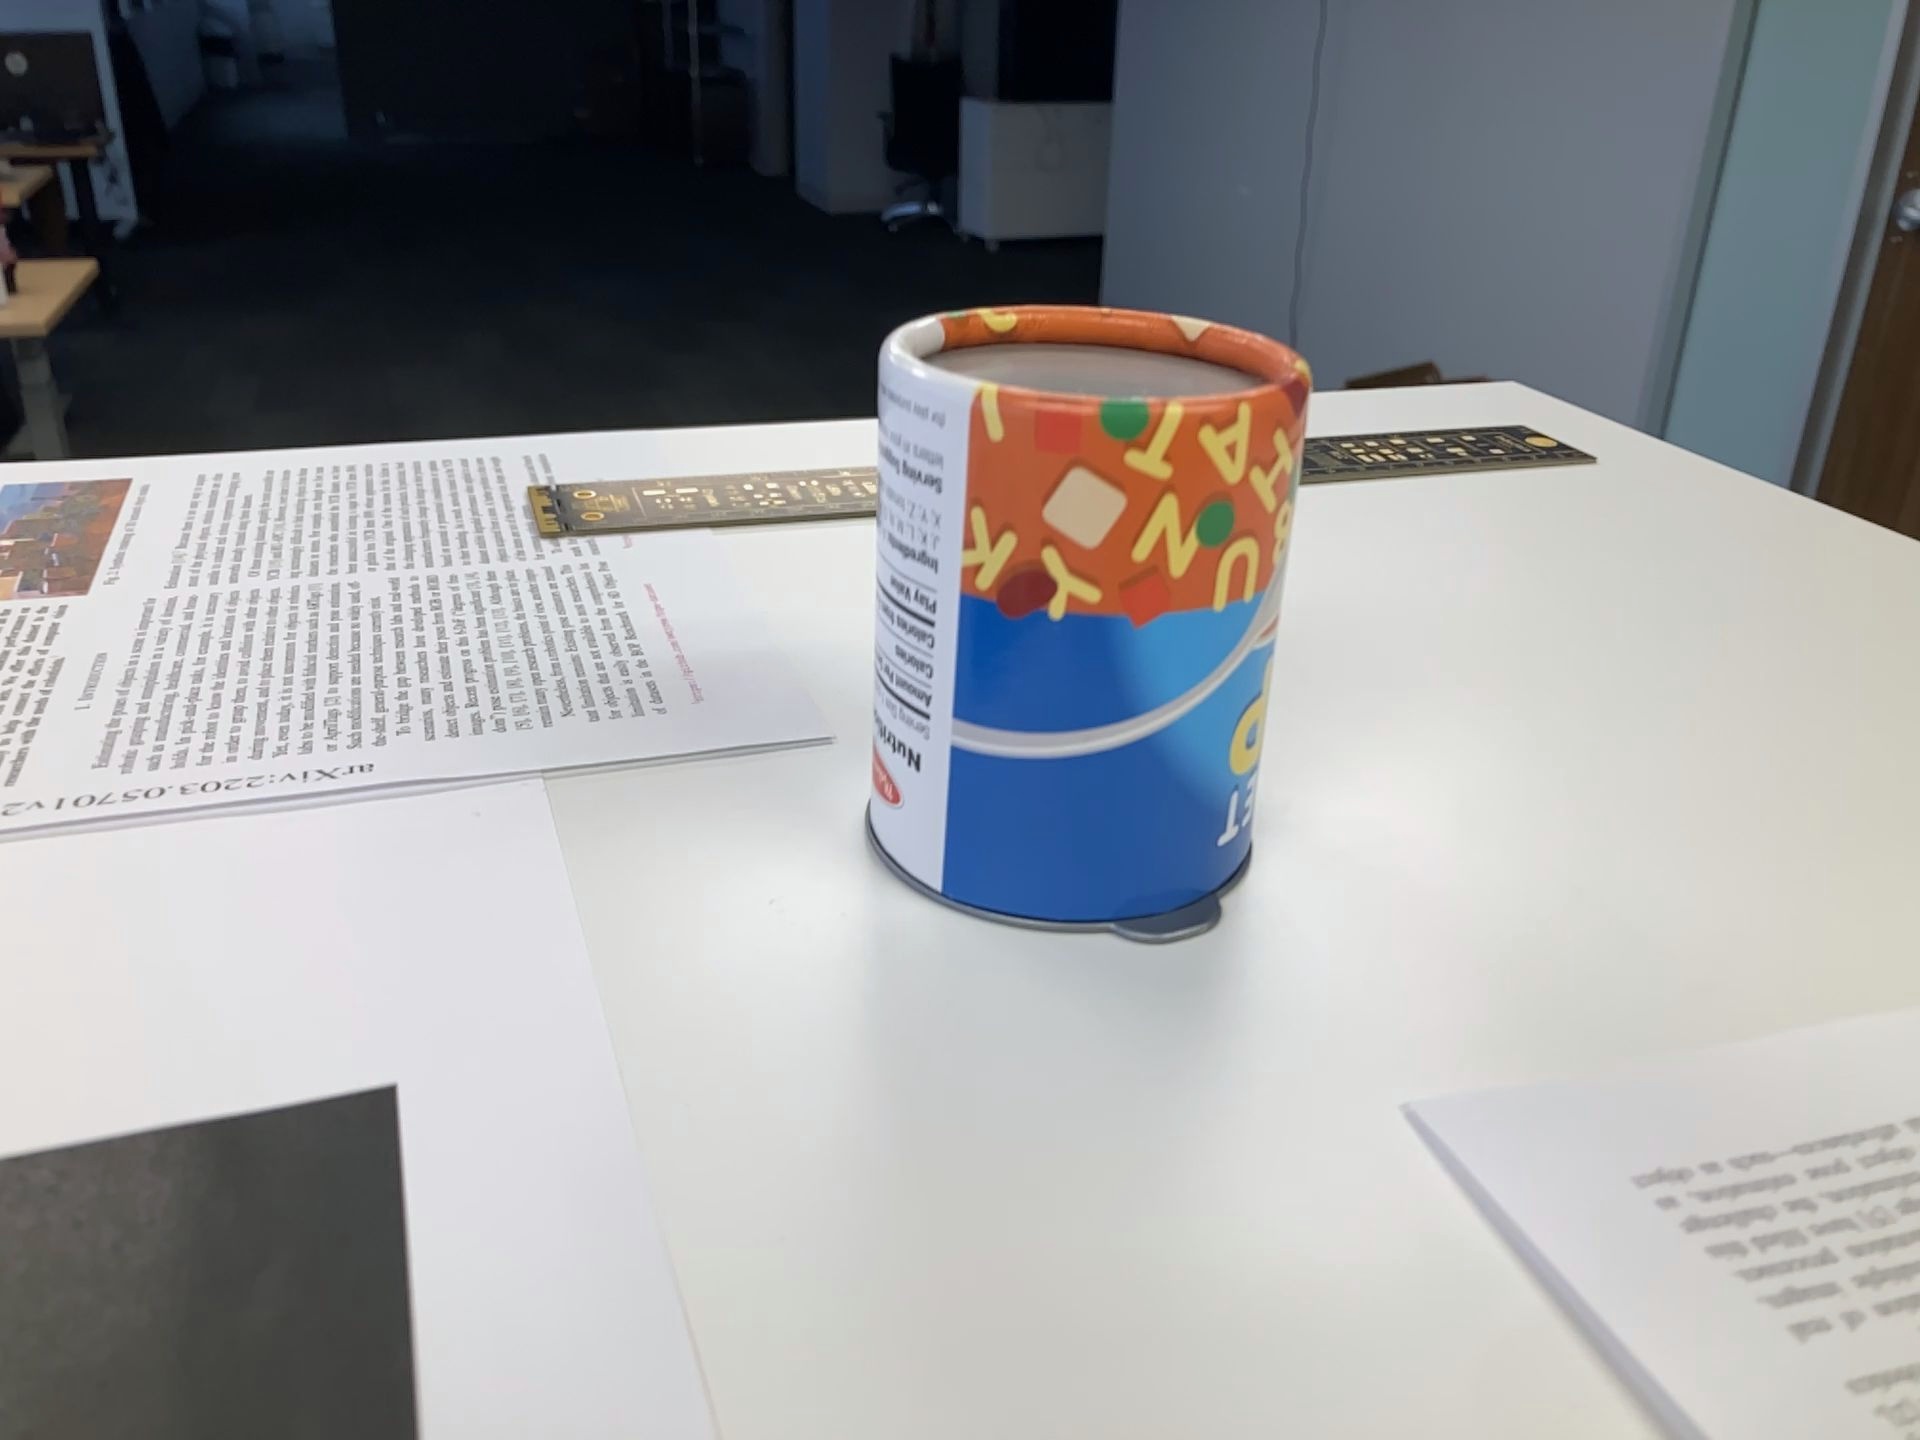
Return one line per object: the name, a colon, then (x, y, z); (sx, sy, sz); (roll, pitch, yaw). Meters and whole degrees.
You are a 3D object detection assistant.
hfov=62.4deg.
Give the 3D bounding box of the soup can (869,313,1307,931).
soup can: (0.021, -0.019, 0.261); (0.071, 0.084, 0.071); (2, 26, -1)
